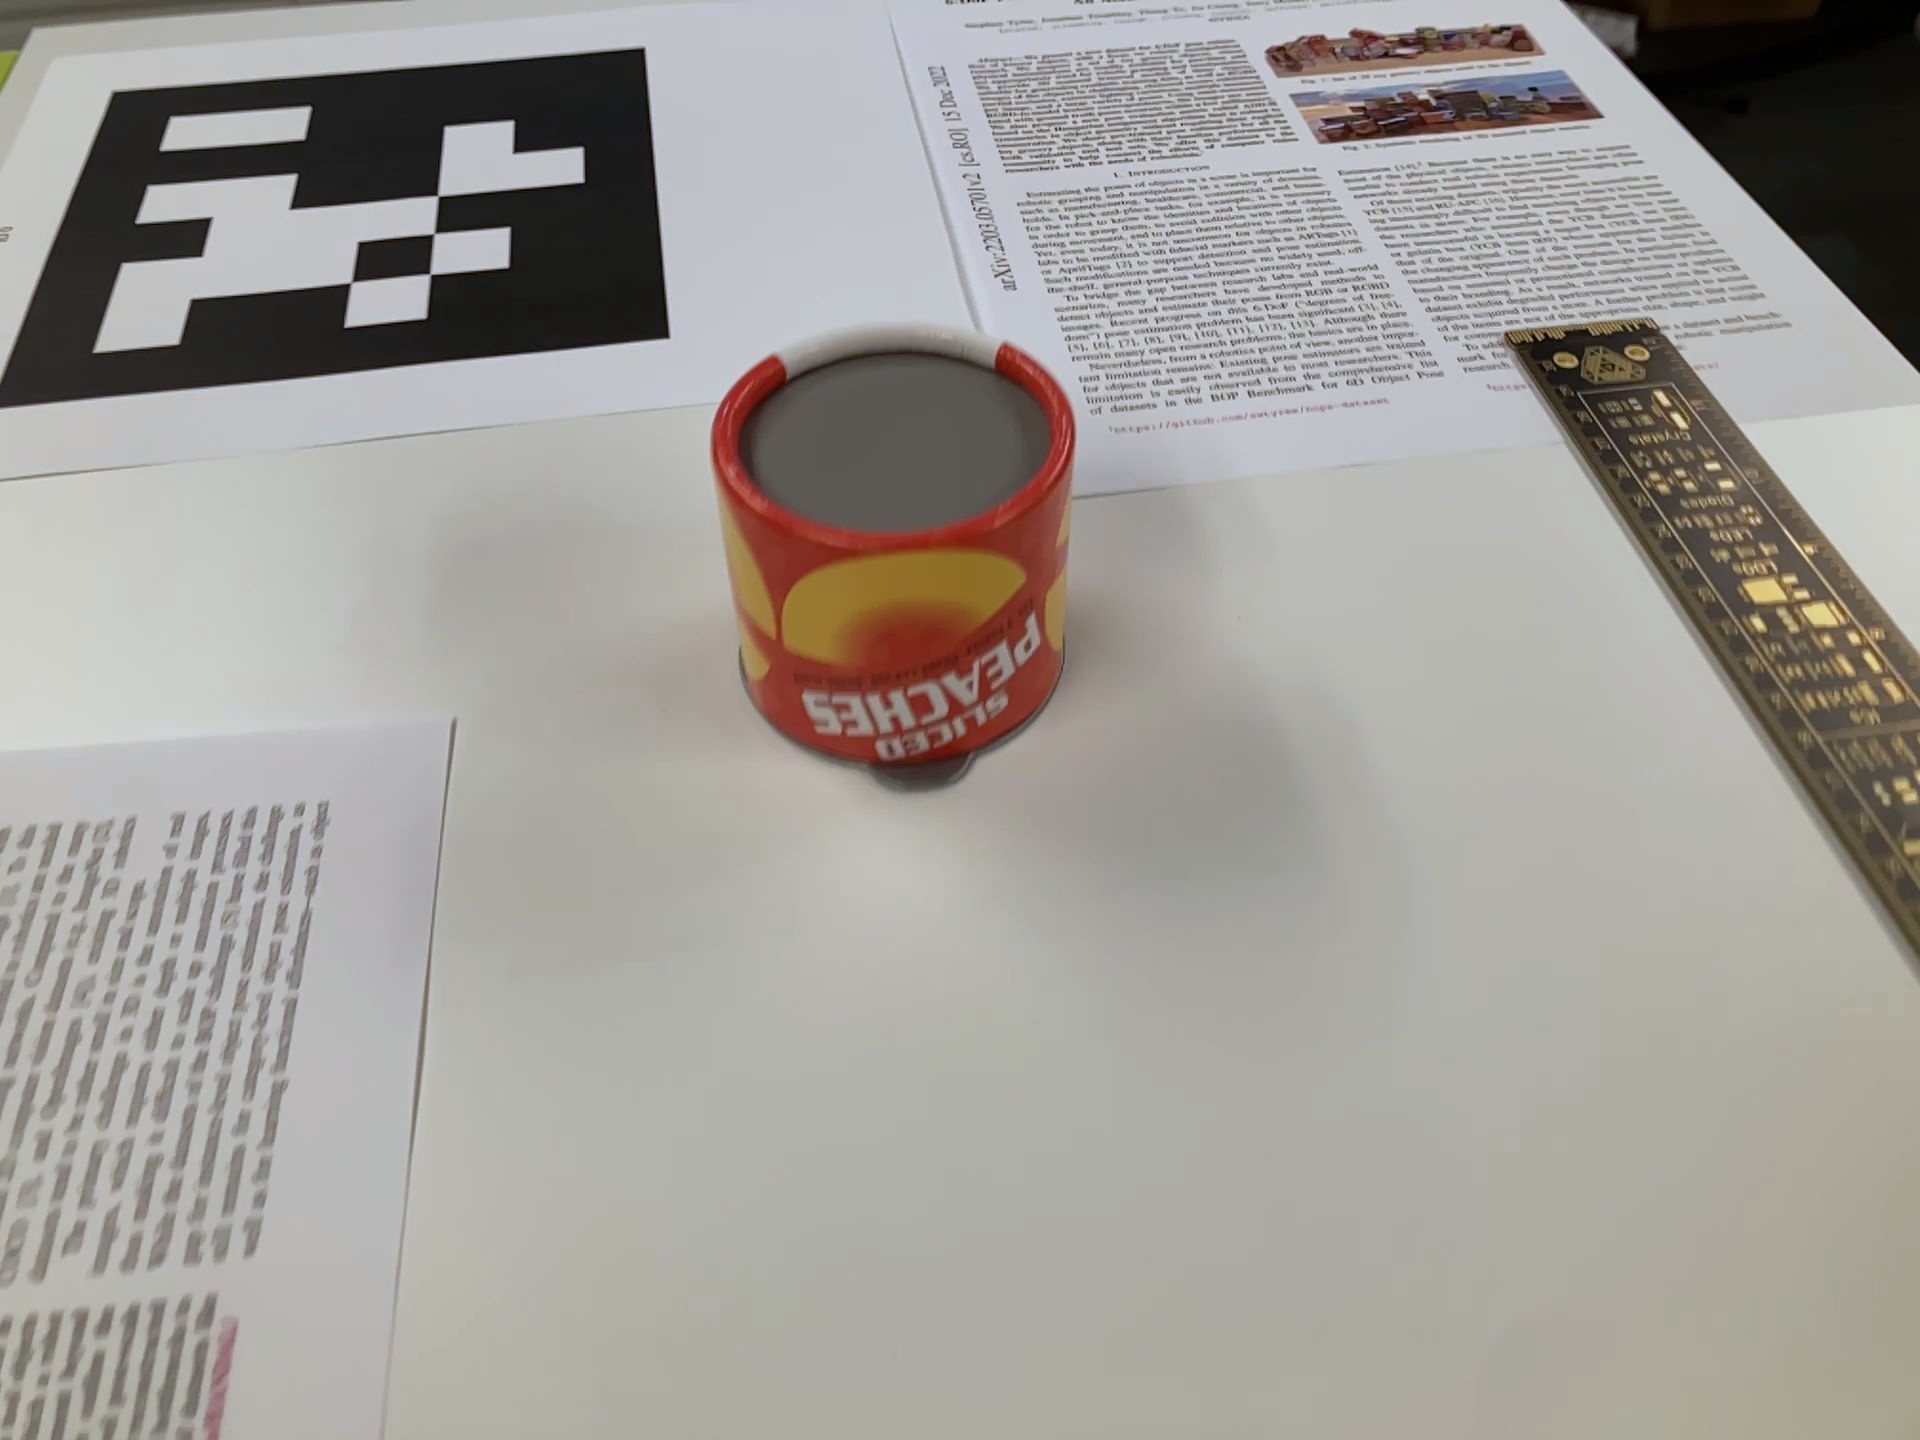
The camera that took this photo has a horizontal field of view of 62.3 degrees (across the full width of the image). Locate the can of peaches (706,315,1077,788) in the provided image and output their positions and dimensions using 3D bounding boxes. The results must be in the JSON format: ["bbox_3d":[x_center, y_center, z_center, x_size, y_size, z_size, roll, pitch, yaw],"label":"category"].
[{"bbox_3d":[-0.011,-0.033,0.296,0.071,0.058,0.071,0,47,0],"label":"can of peaches"}]
